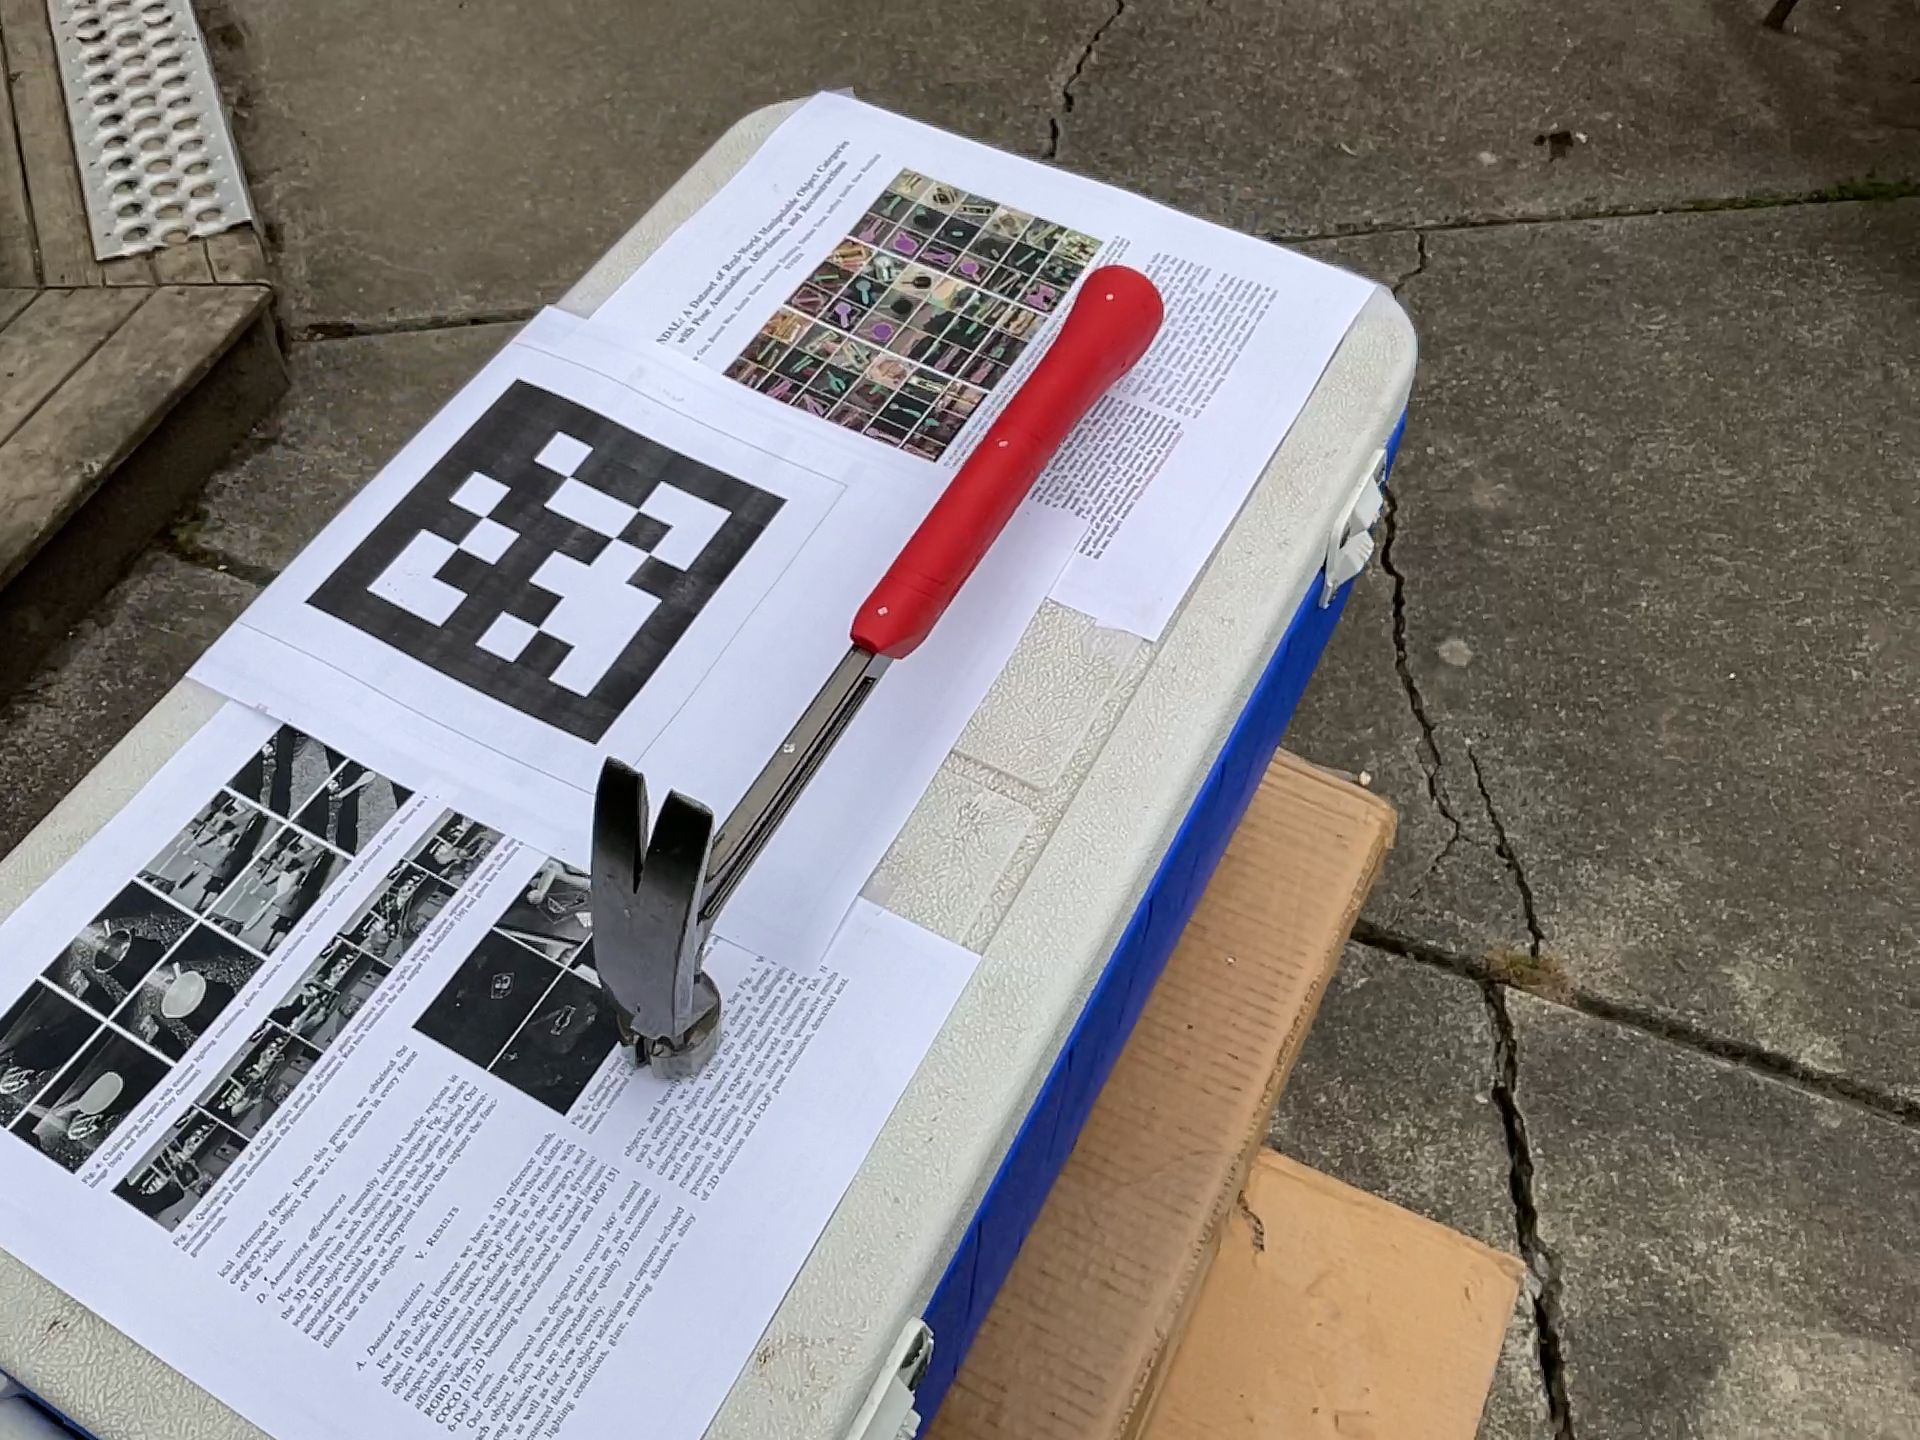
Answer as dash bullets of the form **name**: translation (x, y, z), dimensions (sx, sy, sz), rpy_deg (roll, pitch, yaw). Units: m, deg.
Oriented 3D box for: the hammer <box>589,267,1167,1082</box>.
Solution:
- **hammer**: translation (-0.009, -0.054, 0.535), dimensions (0.036, 0.149, 0.359), rpy_deg (26, 53, 9)
